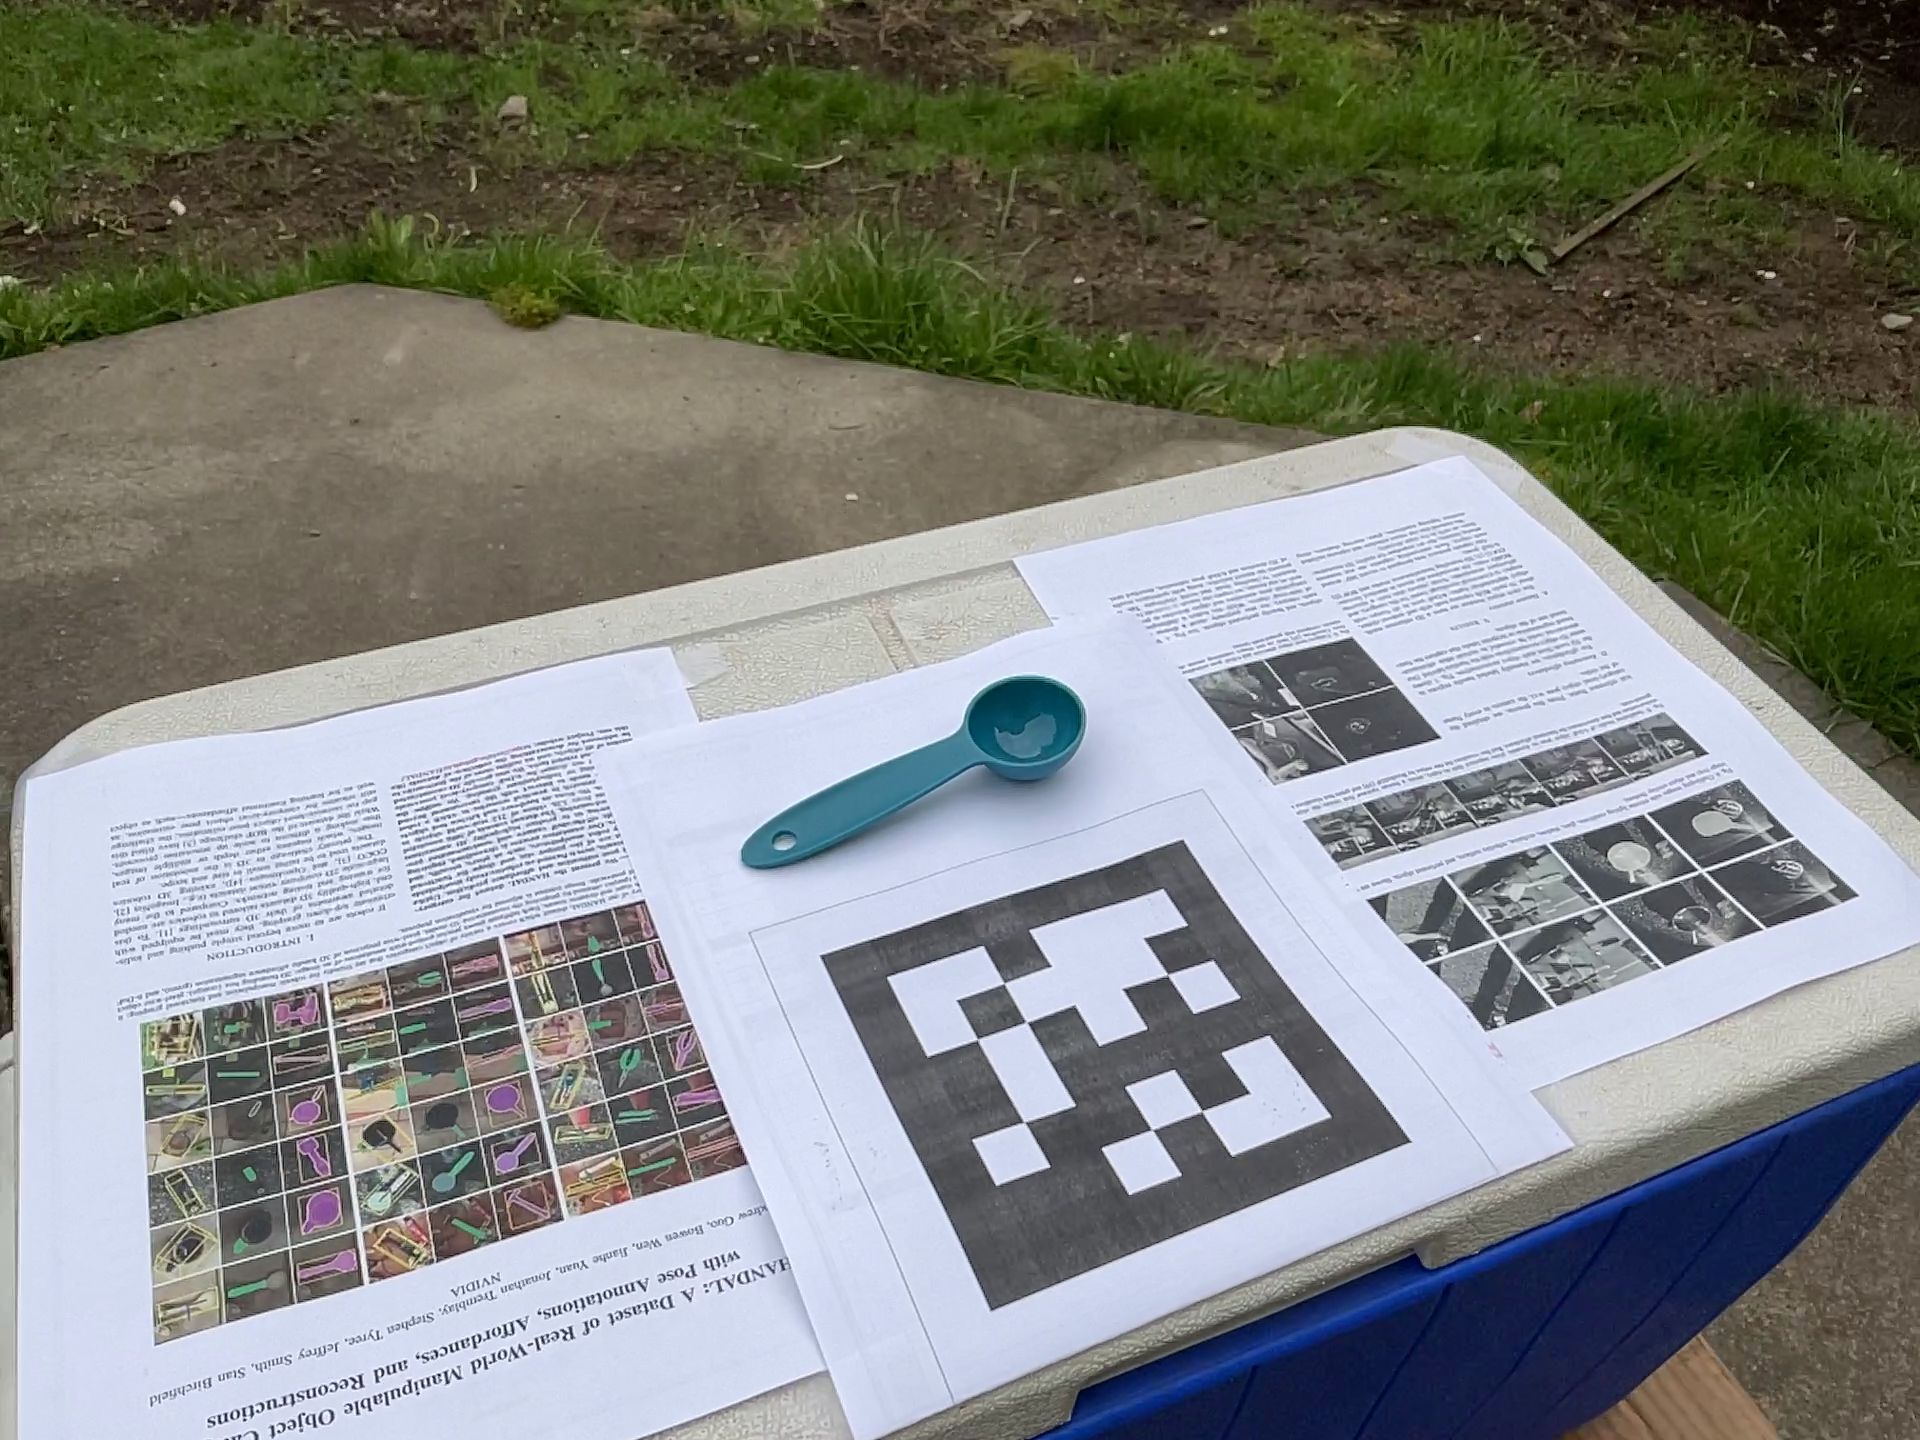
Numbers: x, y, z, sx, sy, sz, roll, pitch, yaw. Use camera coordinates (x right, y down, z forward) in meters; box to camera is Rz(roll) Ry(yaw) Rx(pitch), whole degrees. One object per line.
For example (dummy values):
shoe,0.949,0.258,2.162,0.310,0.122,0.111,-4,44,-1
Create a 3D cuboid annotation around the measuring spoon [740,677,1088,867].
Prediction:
measuring spoon,-0.015,0.024,0.546,0.128,0.021,0.042,-25,50,-14
